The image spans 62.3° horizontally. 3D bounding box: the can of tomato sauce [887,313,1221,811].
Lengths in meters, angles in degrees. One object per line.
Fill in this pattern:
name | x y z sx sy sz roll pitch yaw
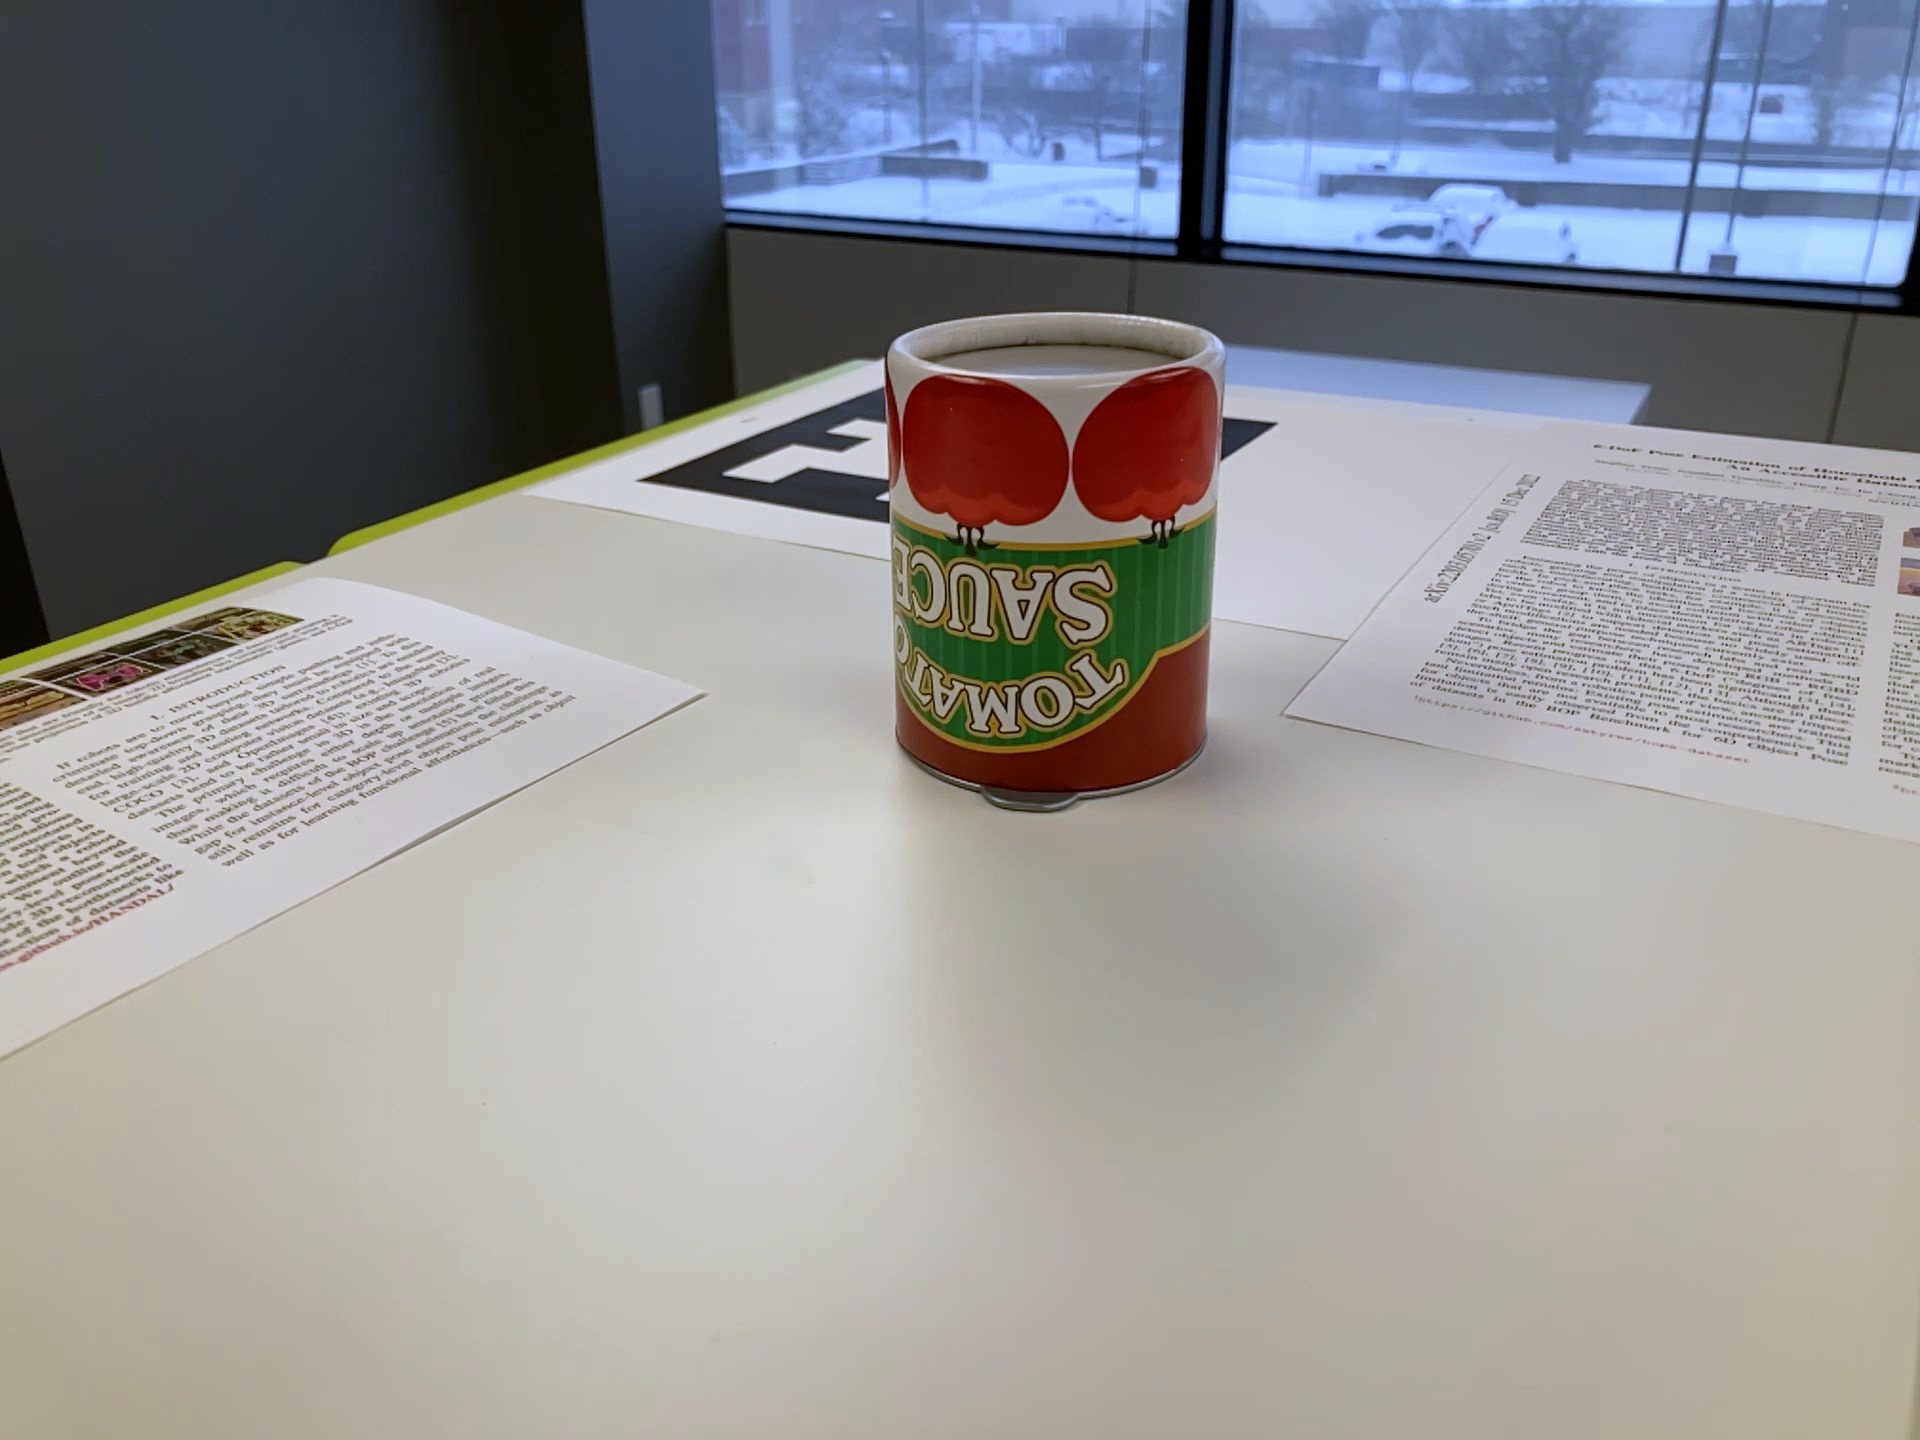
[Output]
can of tomato sauce | 0.017 -0.035 0.324 0.071 0.083 0.071 0 25 0
